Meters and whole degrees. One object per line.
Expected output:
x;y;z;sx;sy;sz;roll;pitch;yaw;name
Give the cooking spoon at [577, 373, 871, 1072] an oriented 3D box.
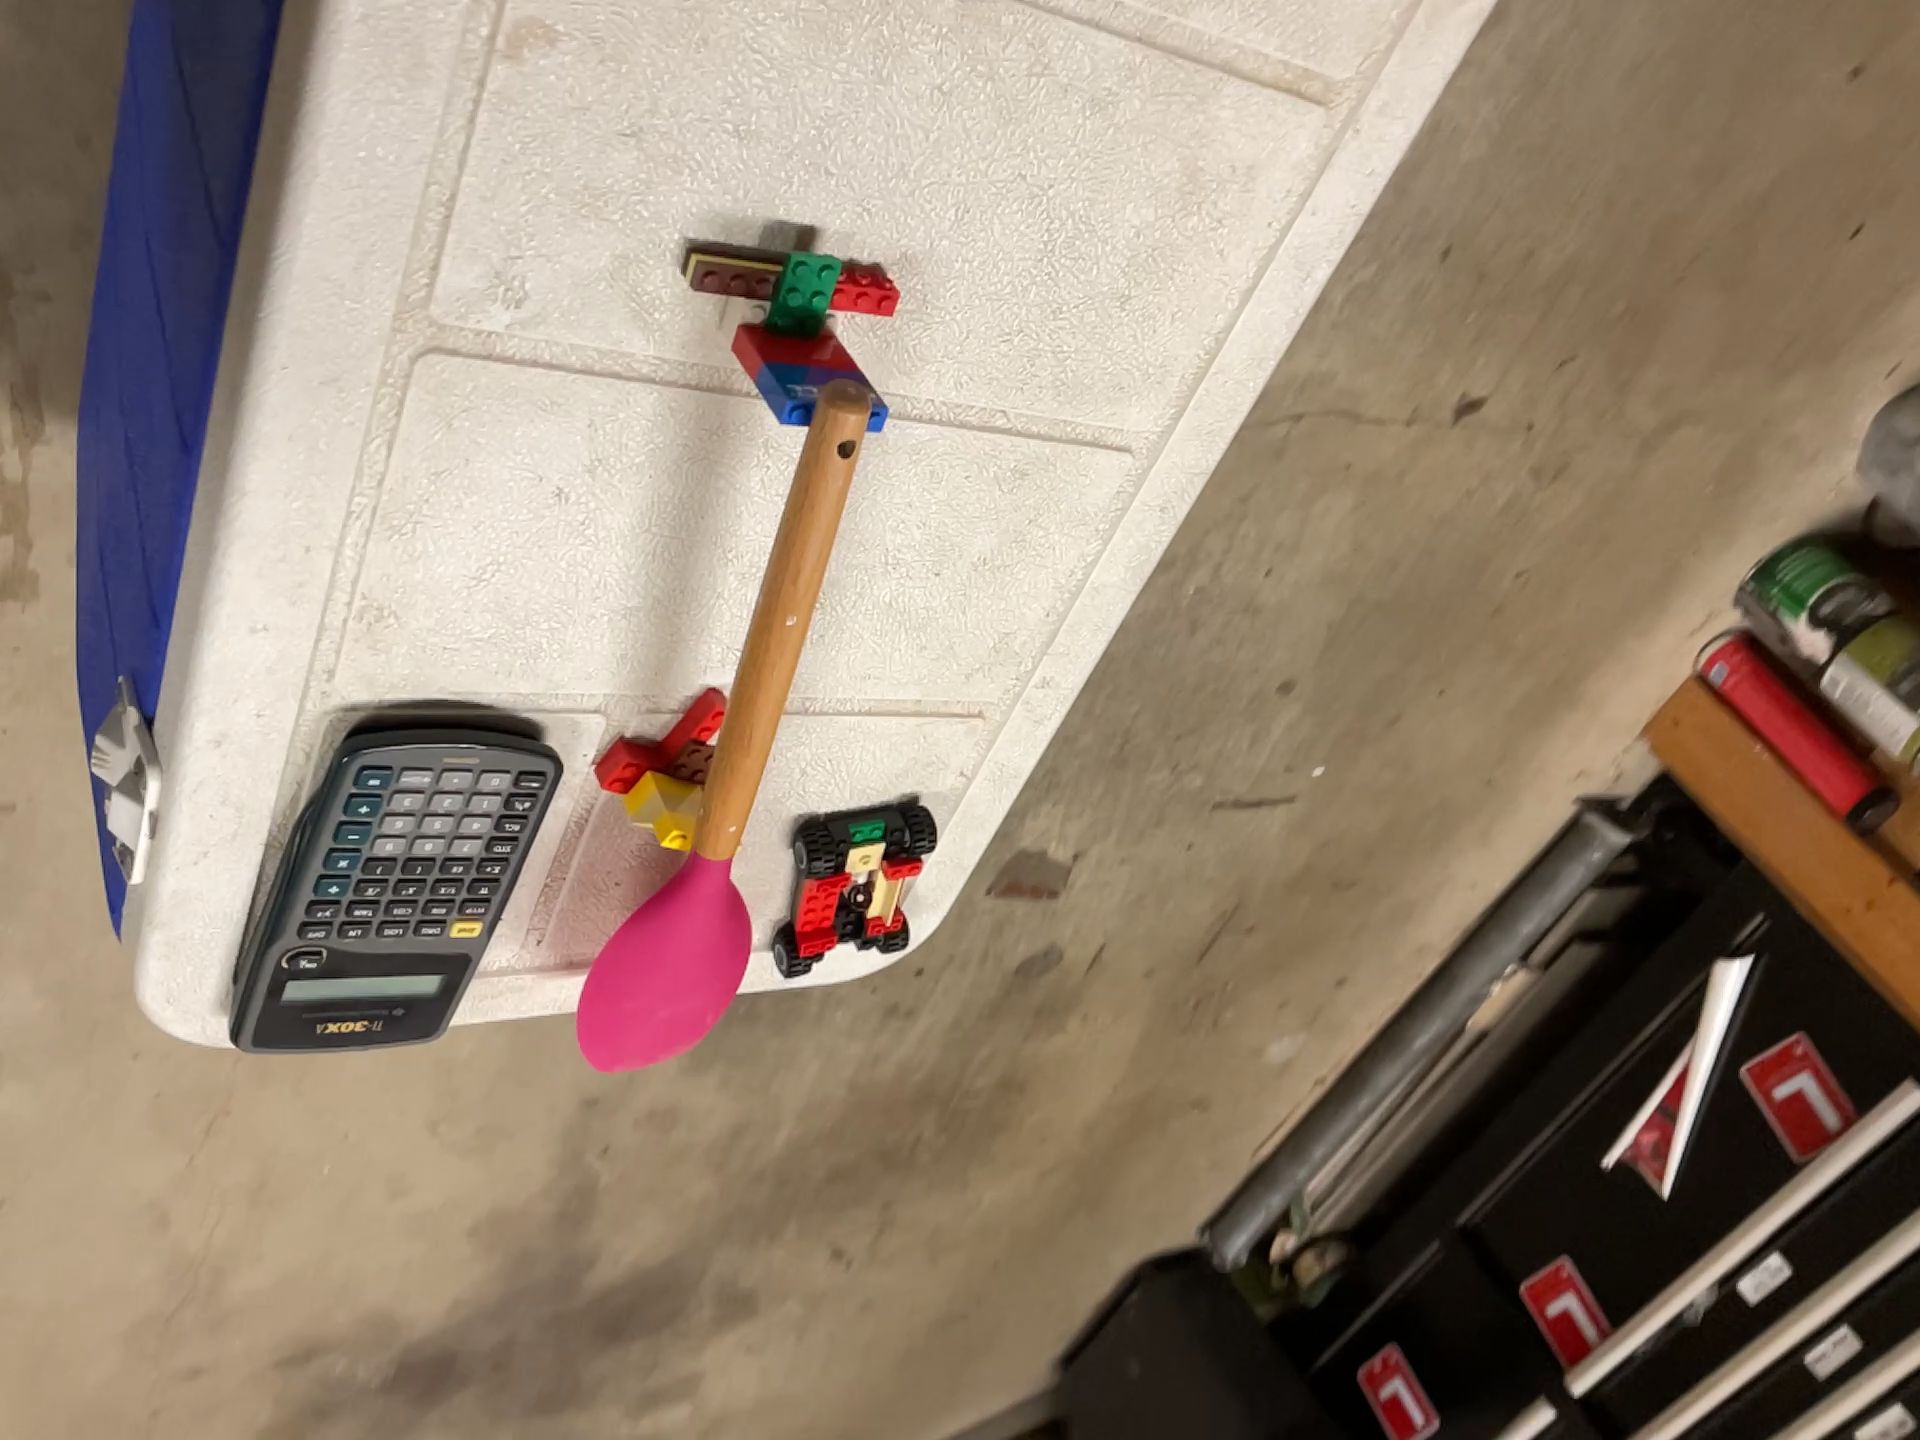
-0.076;0.023;0.525;0.069;0.017;0.318;-11;140;-33;cooking spoon
